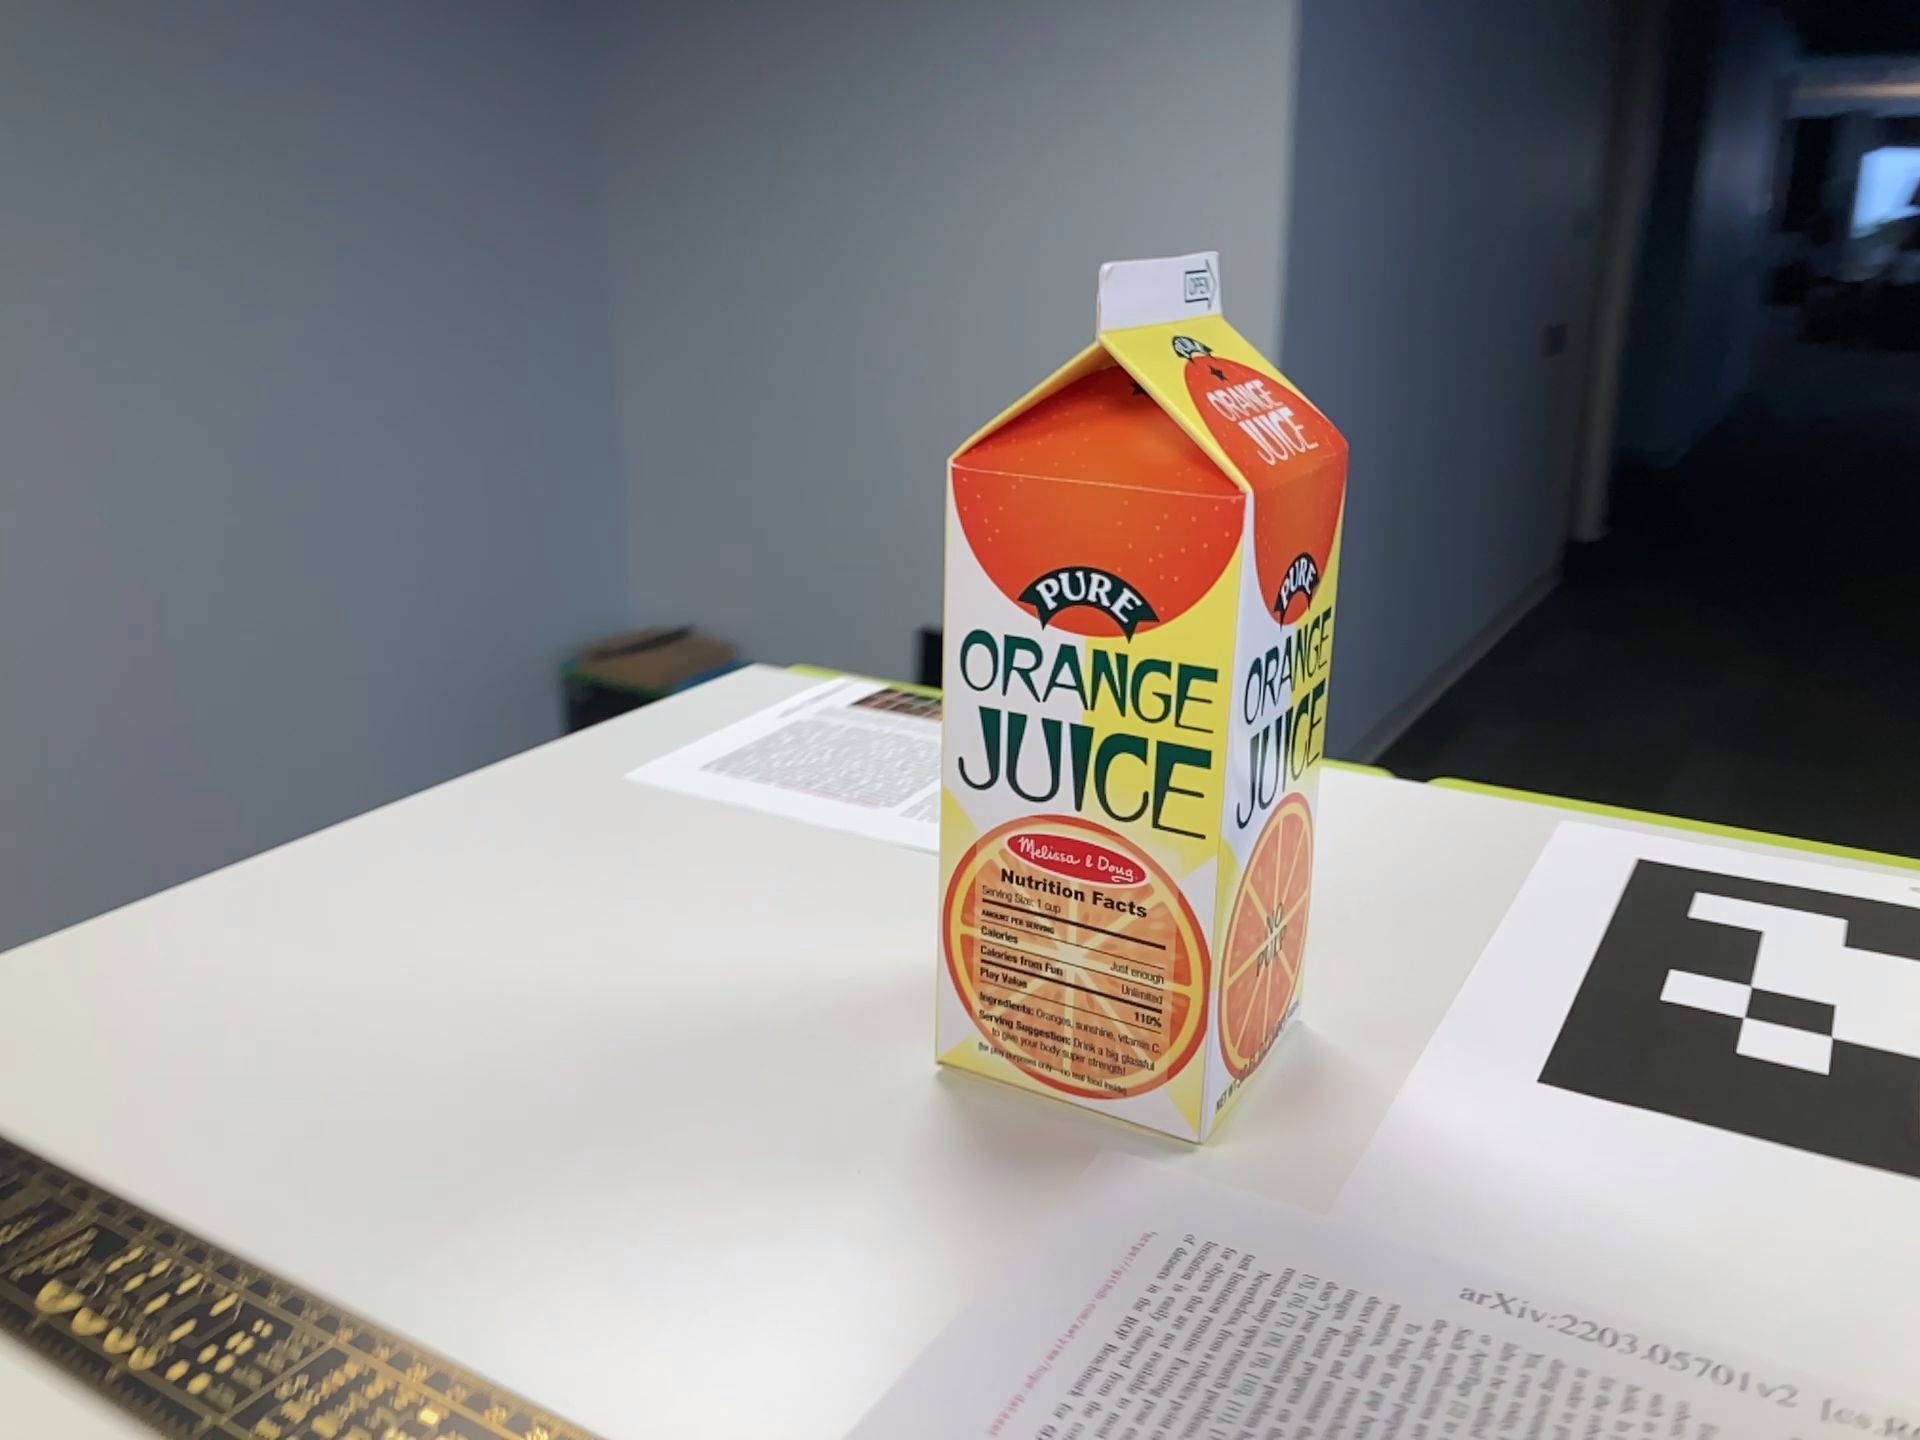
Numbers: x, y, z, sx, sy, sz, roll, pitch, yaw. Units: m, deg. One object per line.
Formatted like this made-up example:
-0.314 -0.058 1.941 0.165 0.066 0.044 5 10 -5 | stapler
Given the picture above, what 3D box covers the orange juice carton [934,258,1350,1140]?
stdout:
0.043 -0.009 0.375 0.073 0.192 0.072 11 19 28 | orange juice carton
